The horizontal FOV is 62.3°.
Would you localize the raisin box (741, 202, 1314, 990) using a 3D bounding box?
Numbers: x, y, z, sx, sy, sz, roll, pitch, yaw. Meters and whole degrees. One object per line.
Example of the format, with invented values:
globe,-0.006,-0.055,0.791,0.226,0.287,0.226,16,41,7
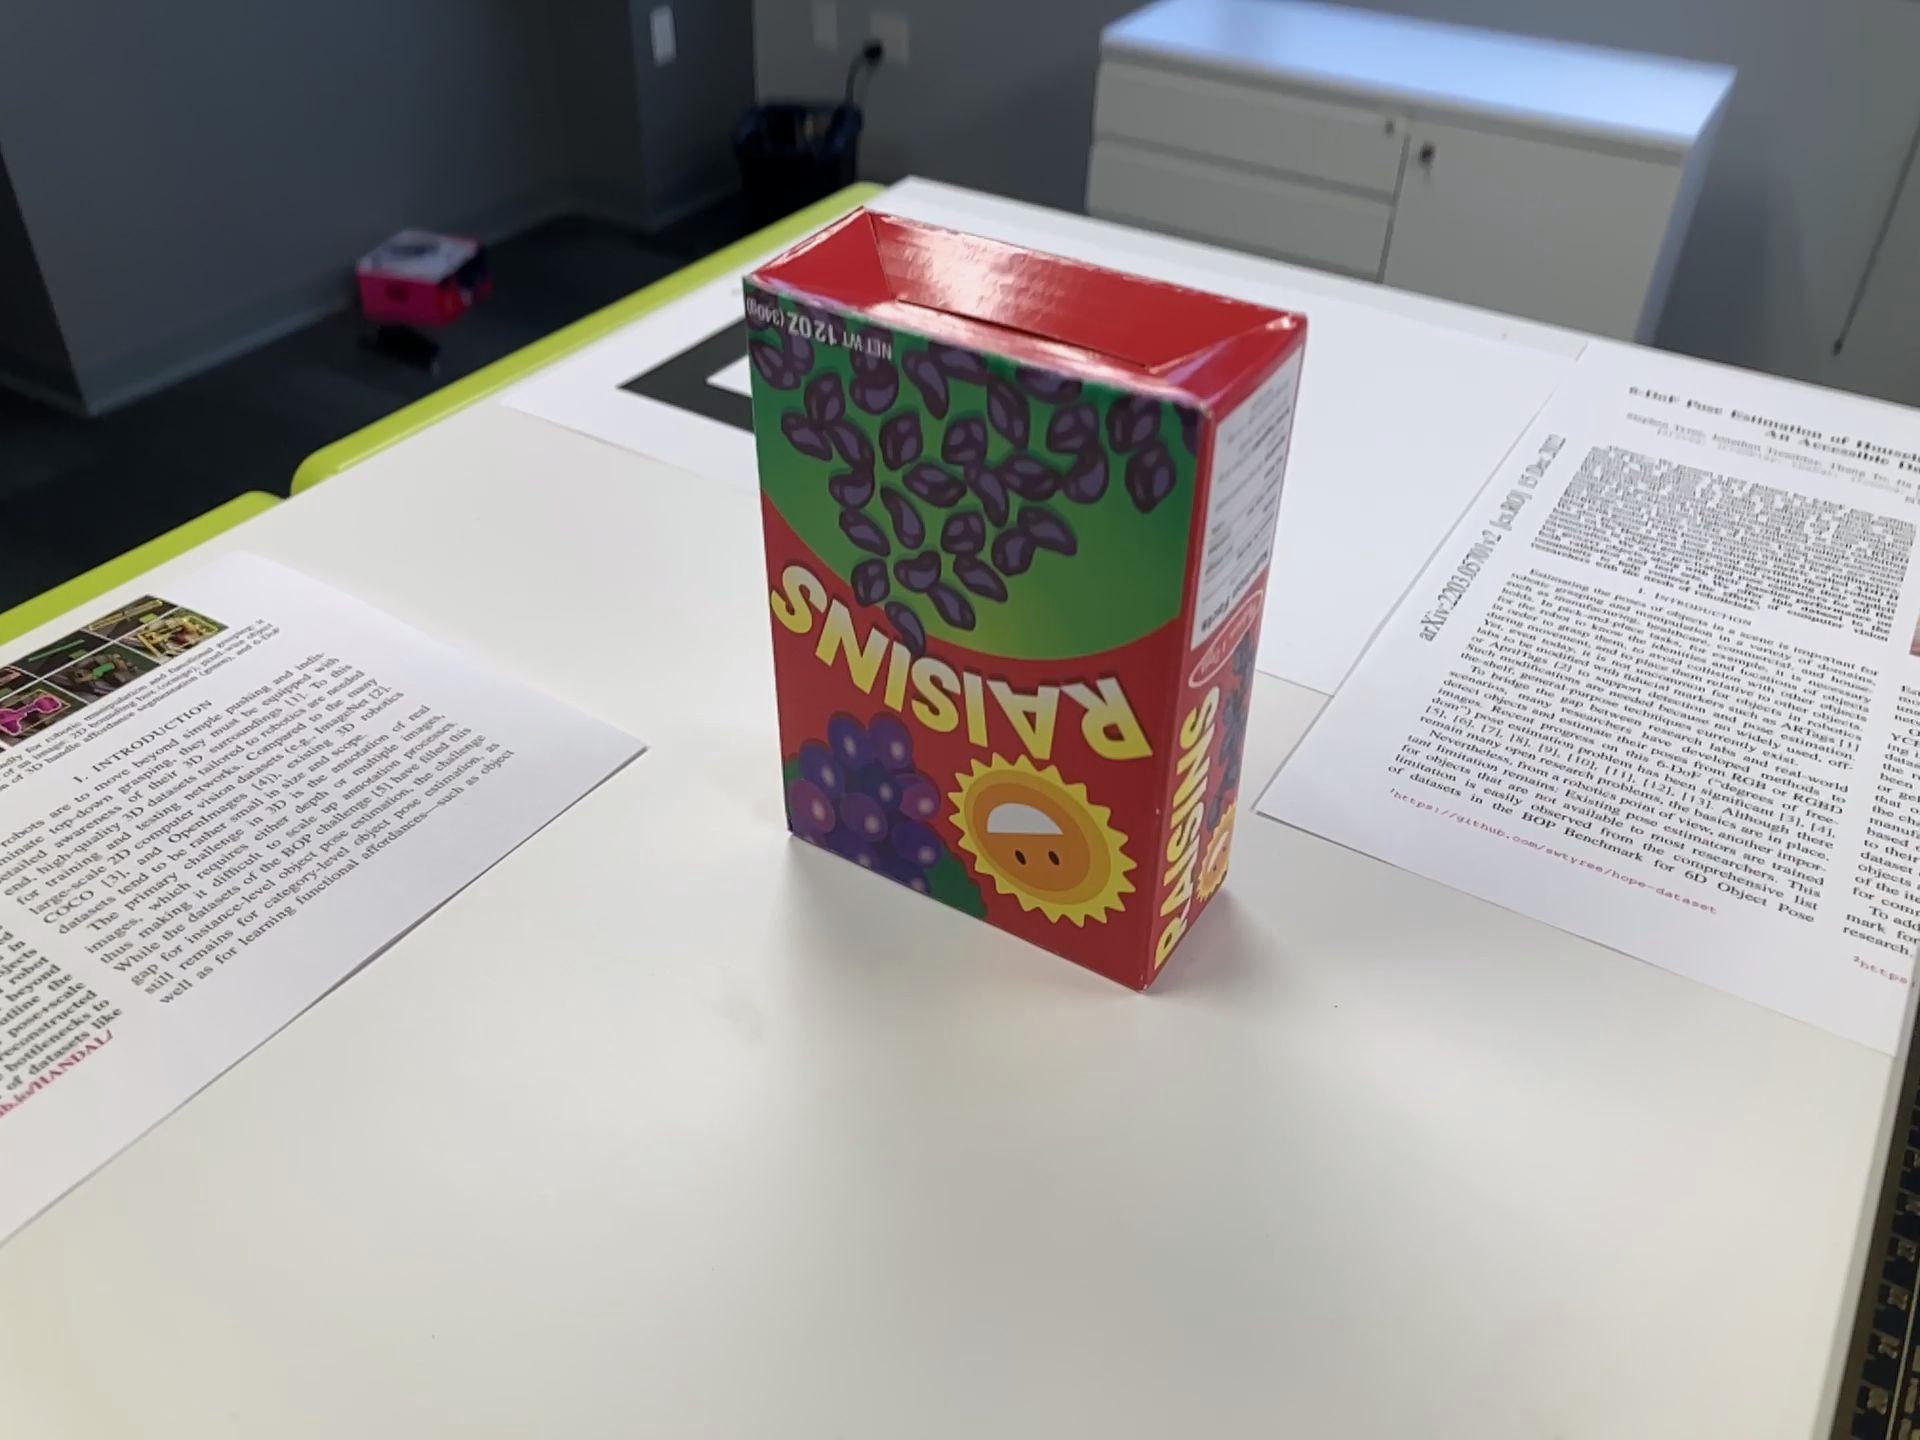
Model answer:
raisin box,0.009,-0.020,0.286,0.086,0.123,0.040,21,43,24
